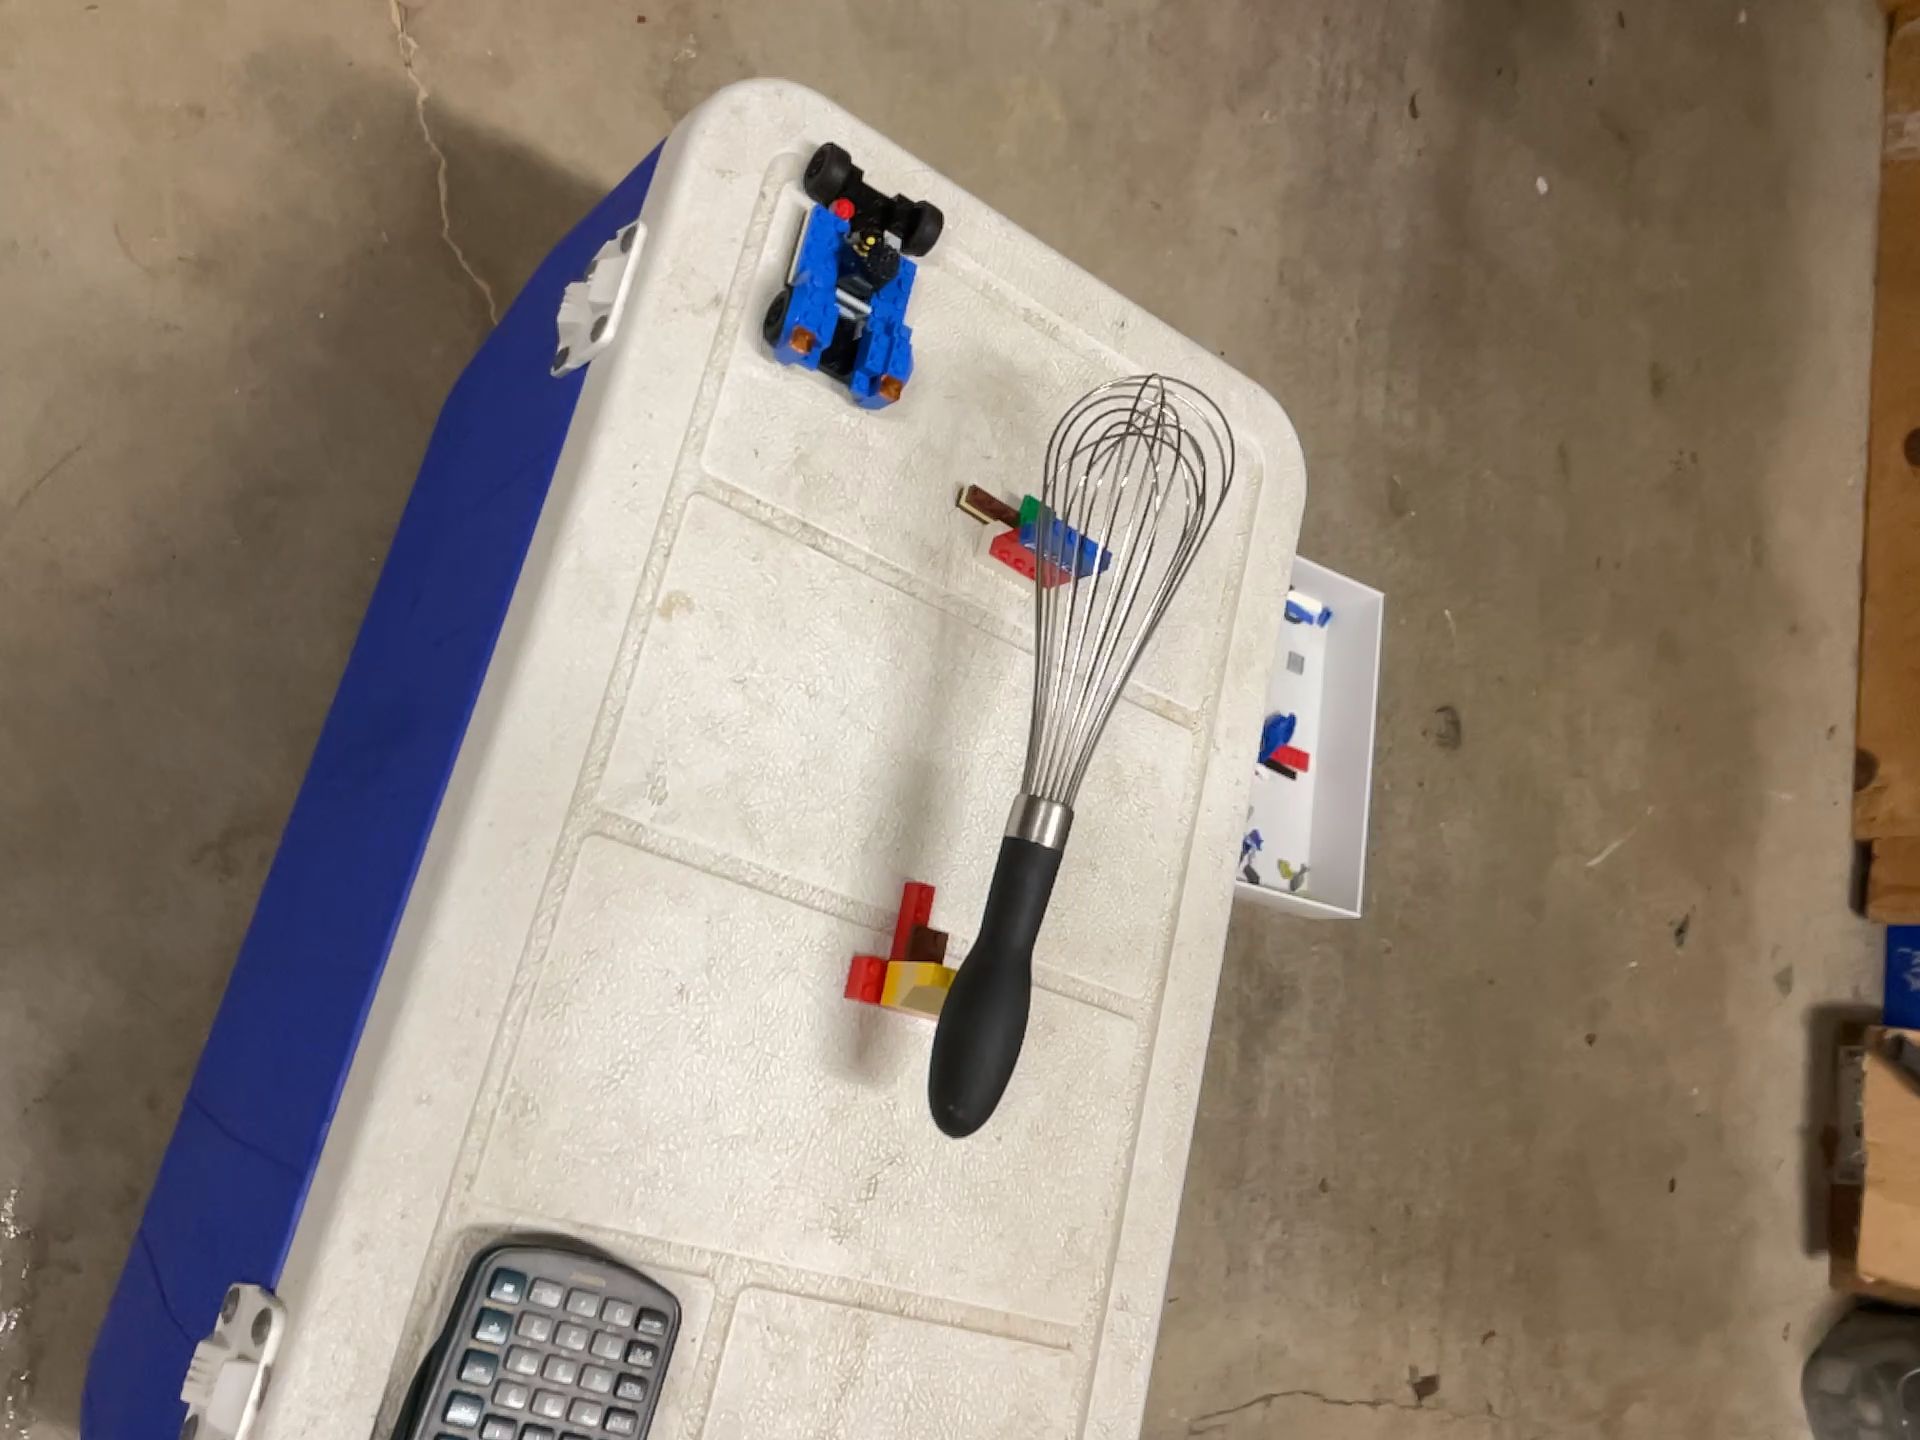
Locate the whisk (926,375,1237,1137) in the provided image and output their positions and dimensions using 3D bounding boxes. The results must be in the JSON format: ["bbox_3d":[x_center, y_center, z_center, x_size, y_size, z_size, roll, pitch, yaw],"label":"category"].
[{"bbox_3d":[0.038,0.007,0.568,0.070,0.070,0.285,24,76,-36],"label":"whisk"}]
